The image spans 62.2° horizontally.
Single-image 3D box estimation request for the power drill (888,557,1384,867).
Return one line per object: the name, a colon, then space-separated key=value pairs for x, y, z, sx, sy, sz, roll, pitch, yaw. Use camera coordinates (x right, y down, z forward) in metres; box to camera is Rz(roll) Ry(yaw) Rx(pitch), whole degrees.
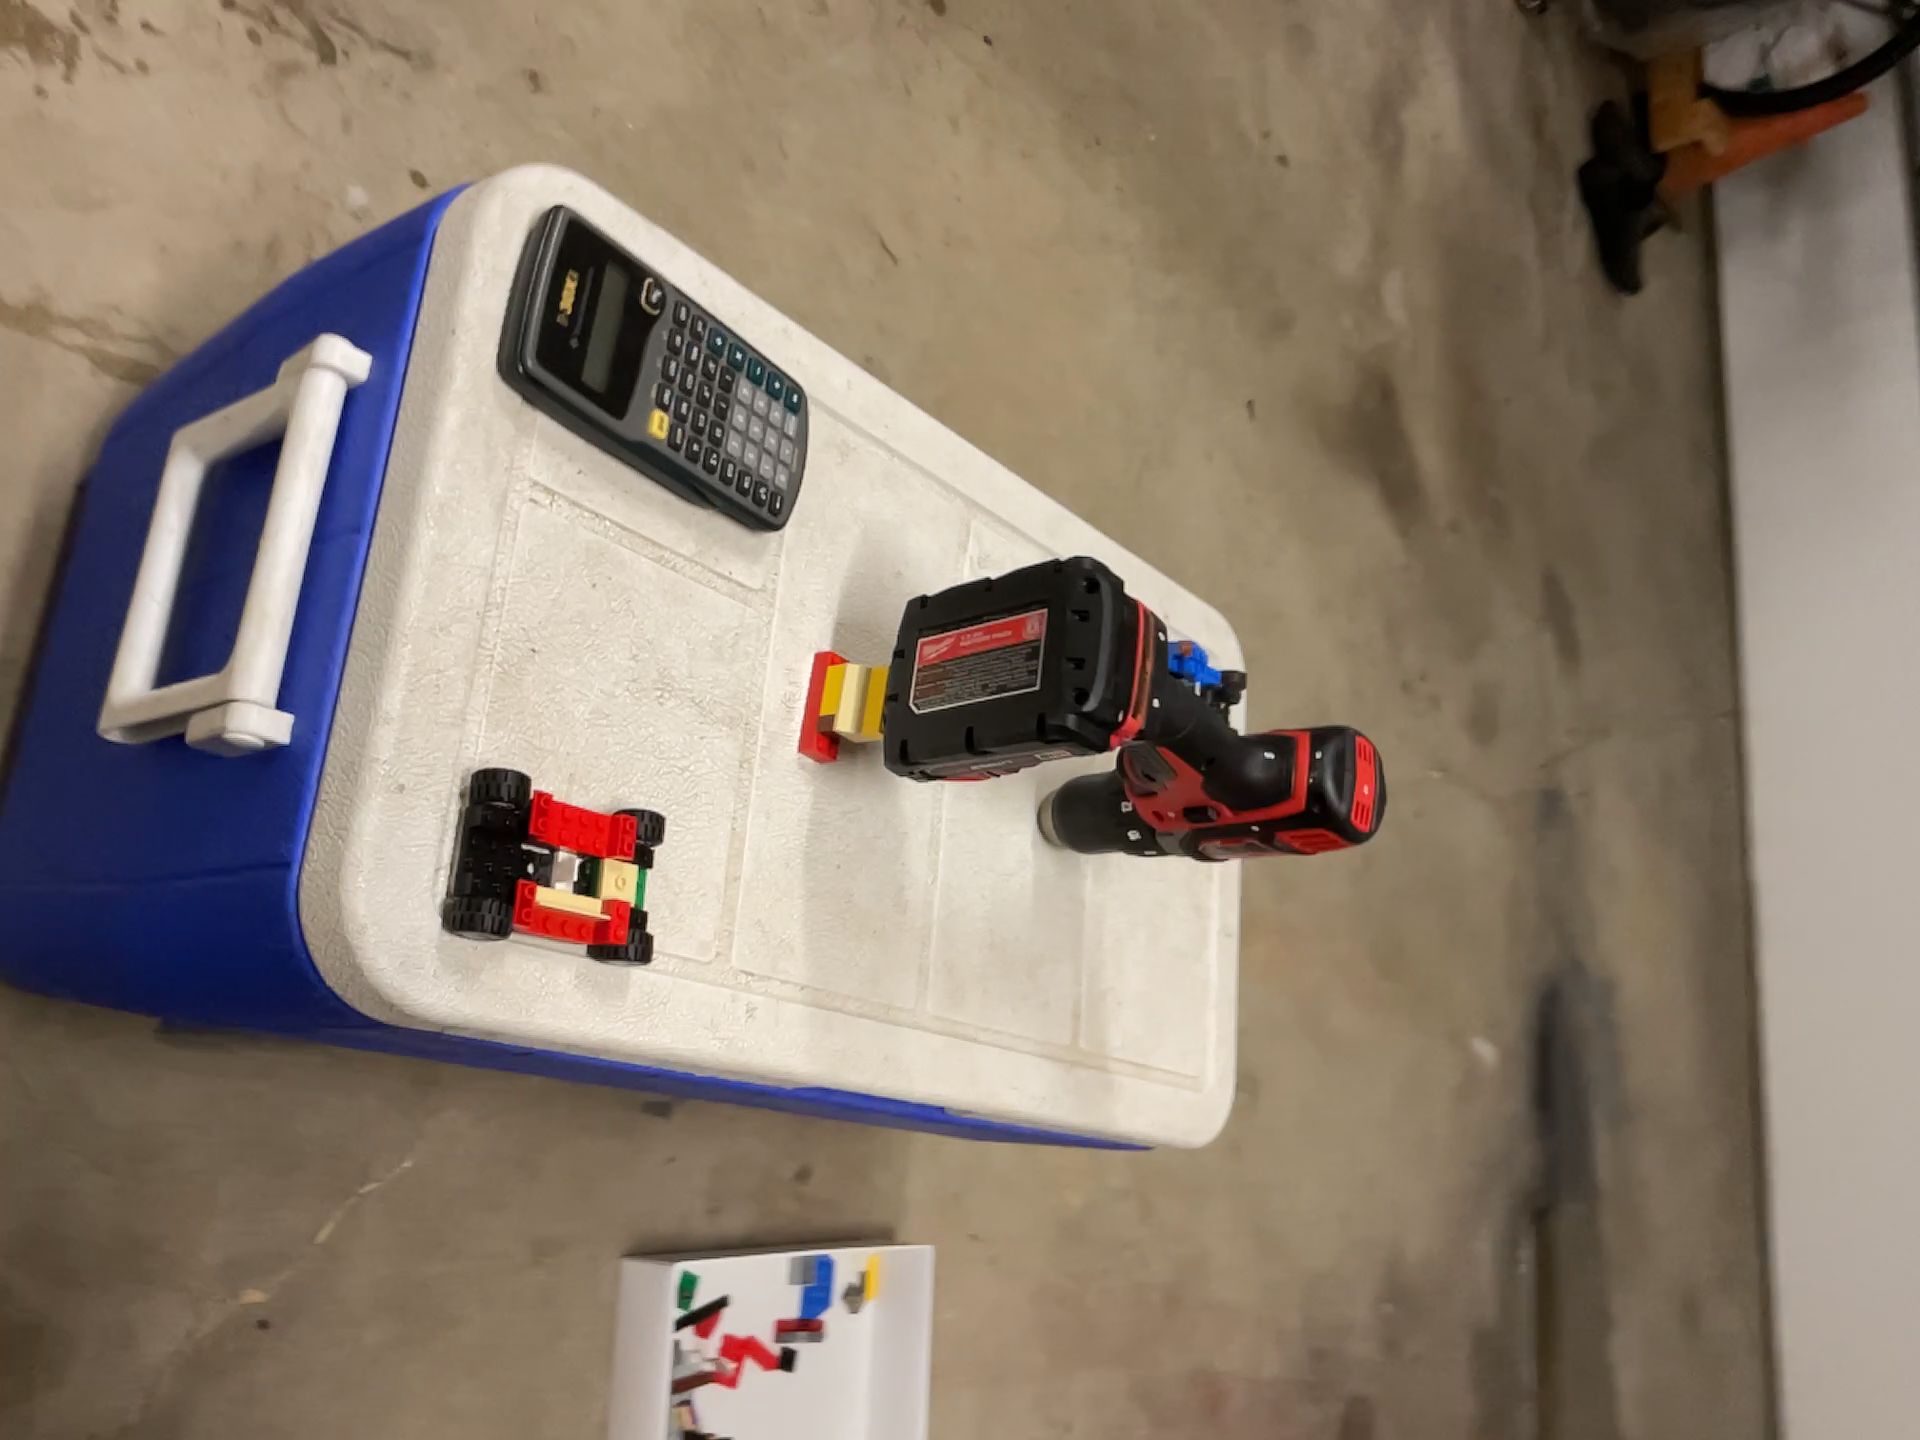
power drill: x=0.067 y=0.016 z=0.753 sx=0.226 sy=0.187 sz=0.080 roll=27 pitch=62 yaw=-42
